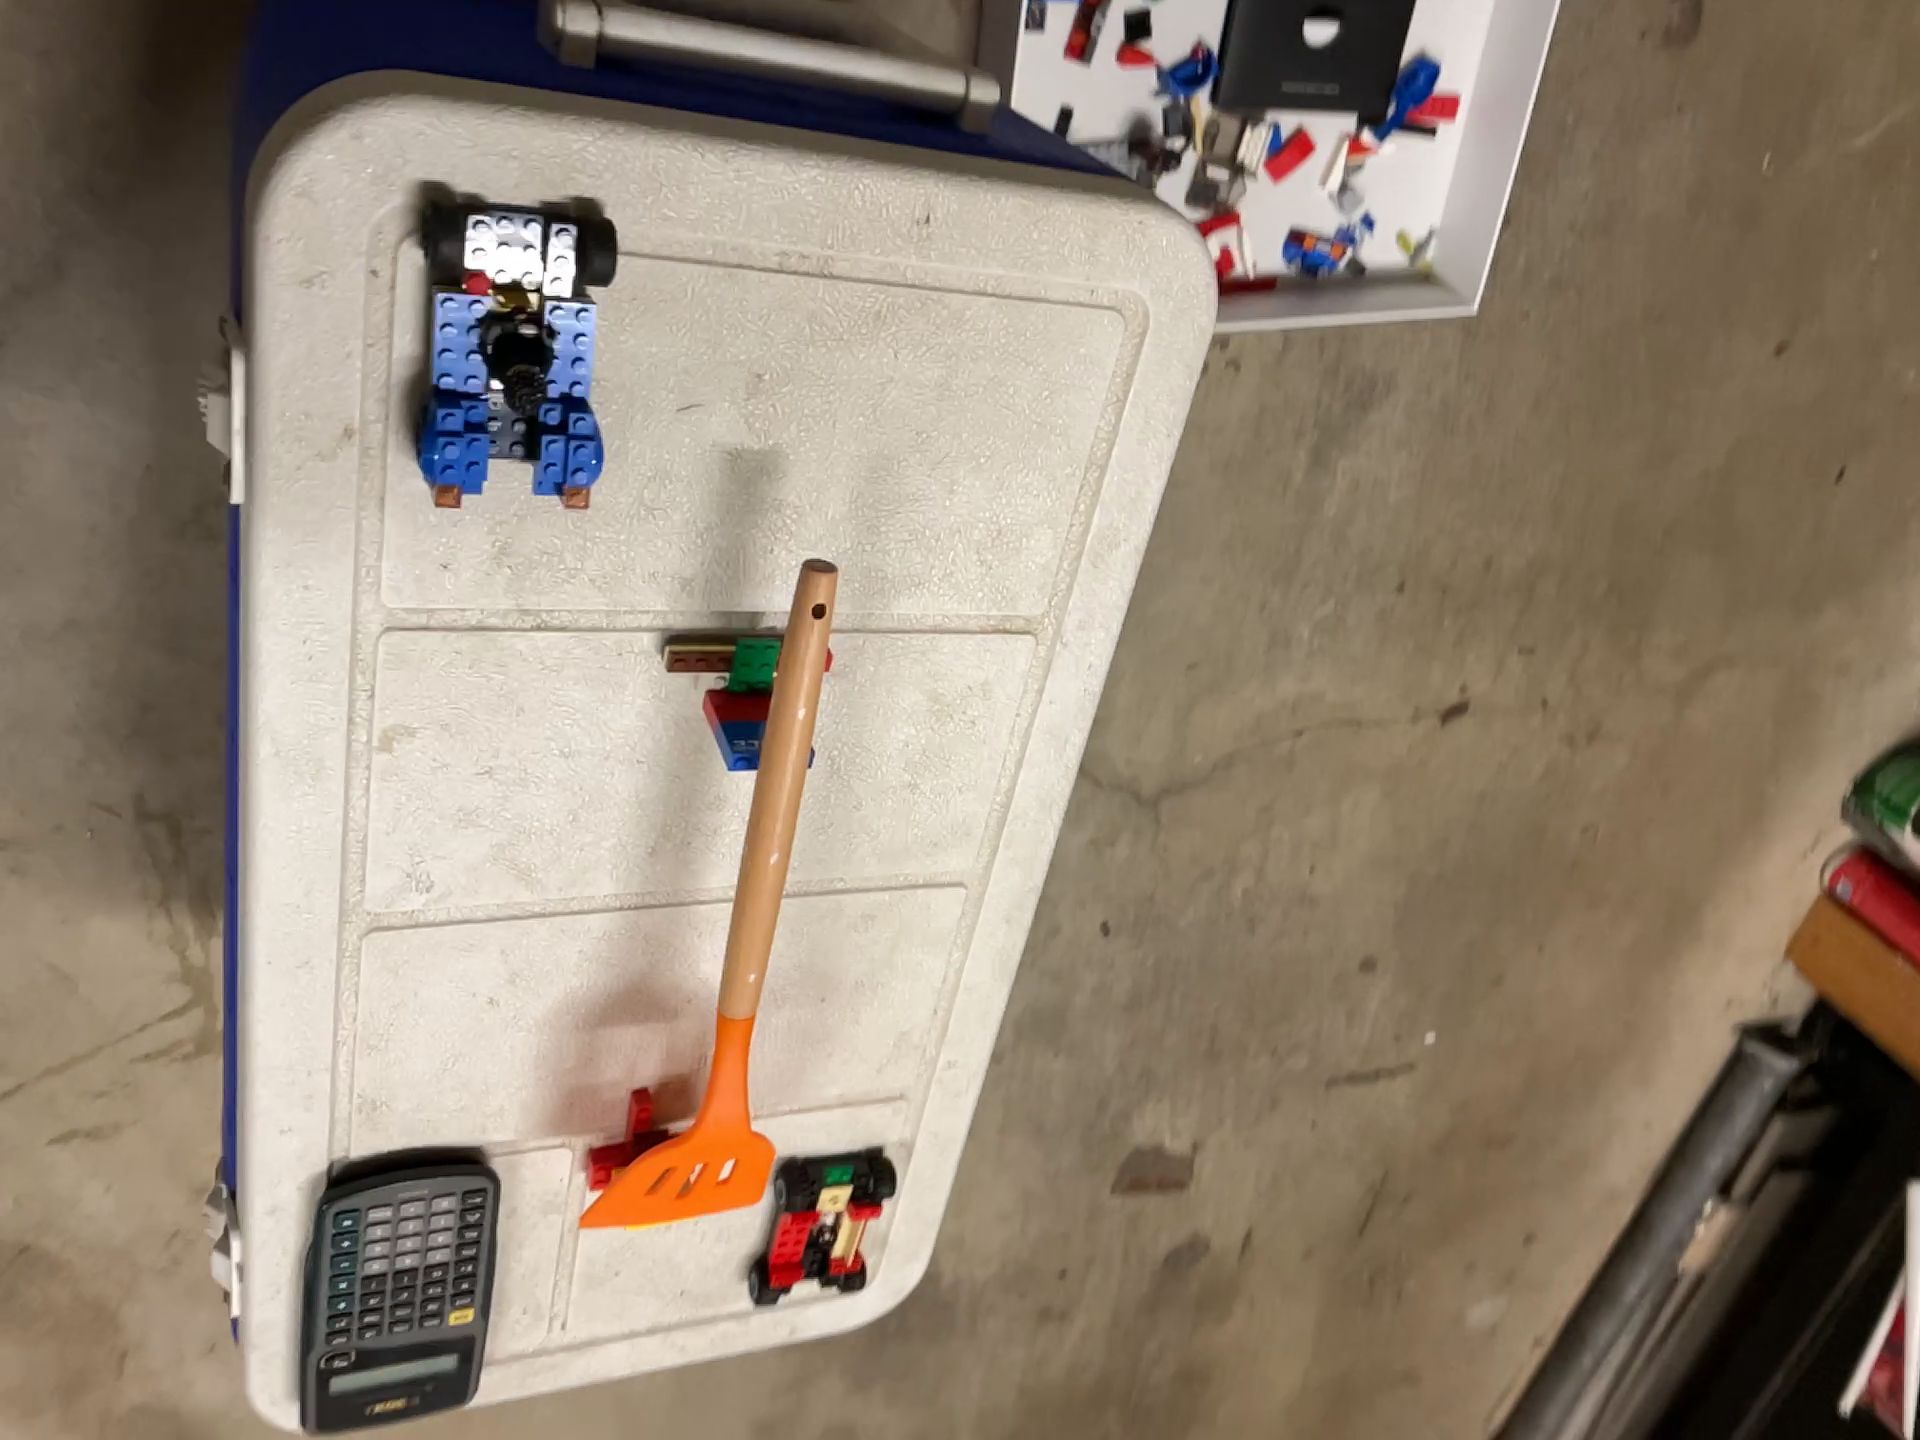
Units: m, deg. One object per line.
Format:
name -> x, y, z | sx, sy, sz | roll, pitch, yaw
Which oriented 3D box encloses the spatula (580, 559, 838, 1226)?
spatula -> -0.085, 0.085, 0.612 | 0.081, 0.041, 0.322 | 0, 118, -26
